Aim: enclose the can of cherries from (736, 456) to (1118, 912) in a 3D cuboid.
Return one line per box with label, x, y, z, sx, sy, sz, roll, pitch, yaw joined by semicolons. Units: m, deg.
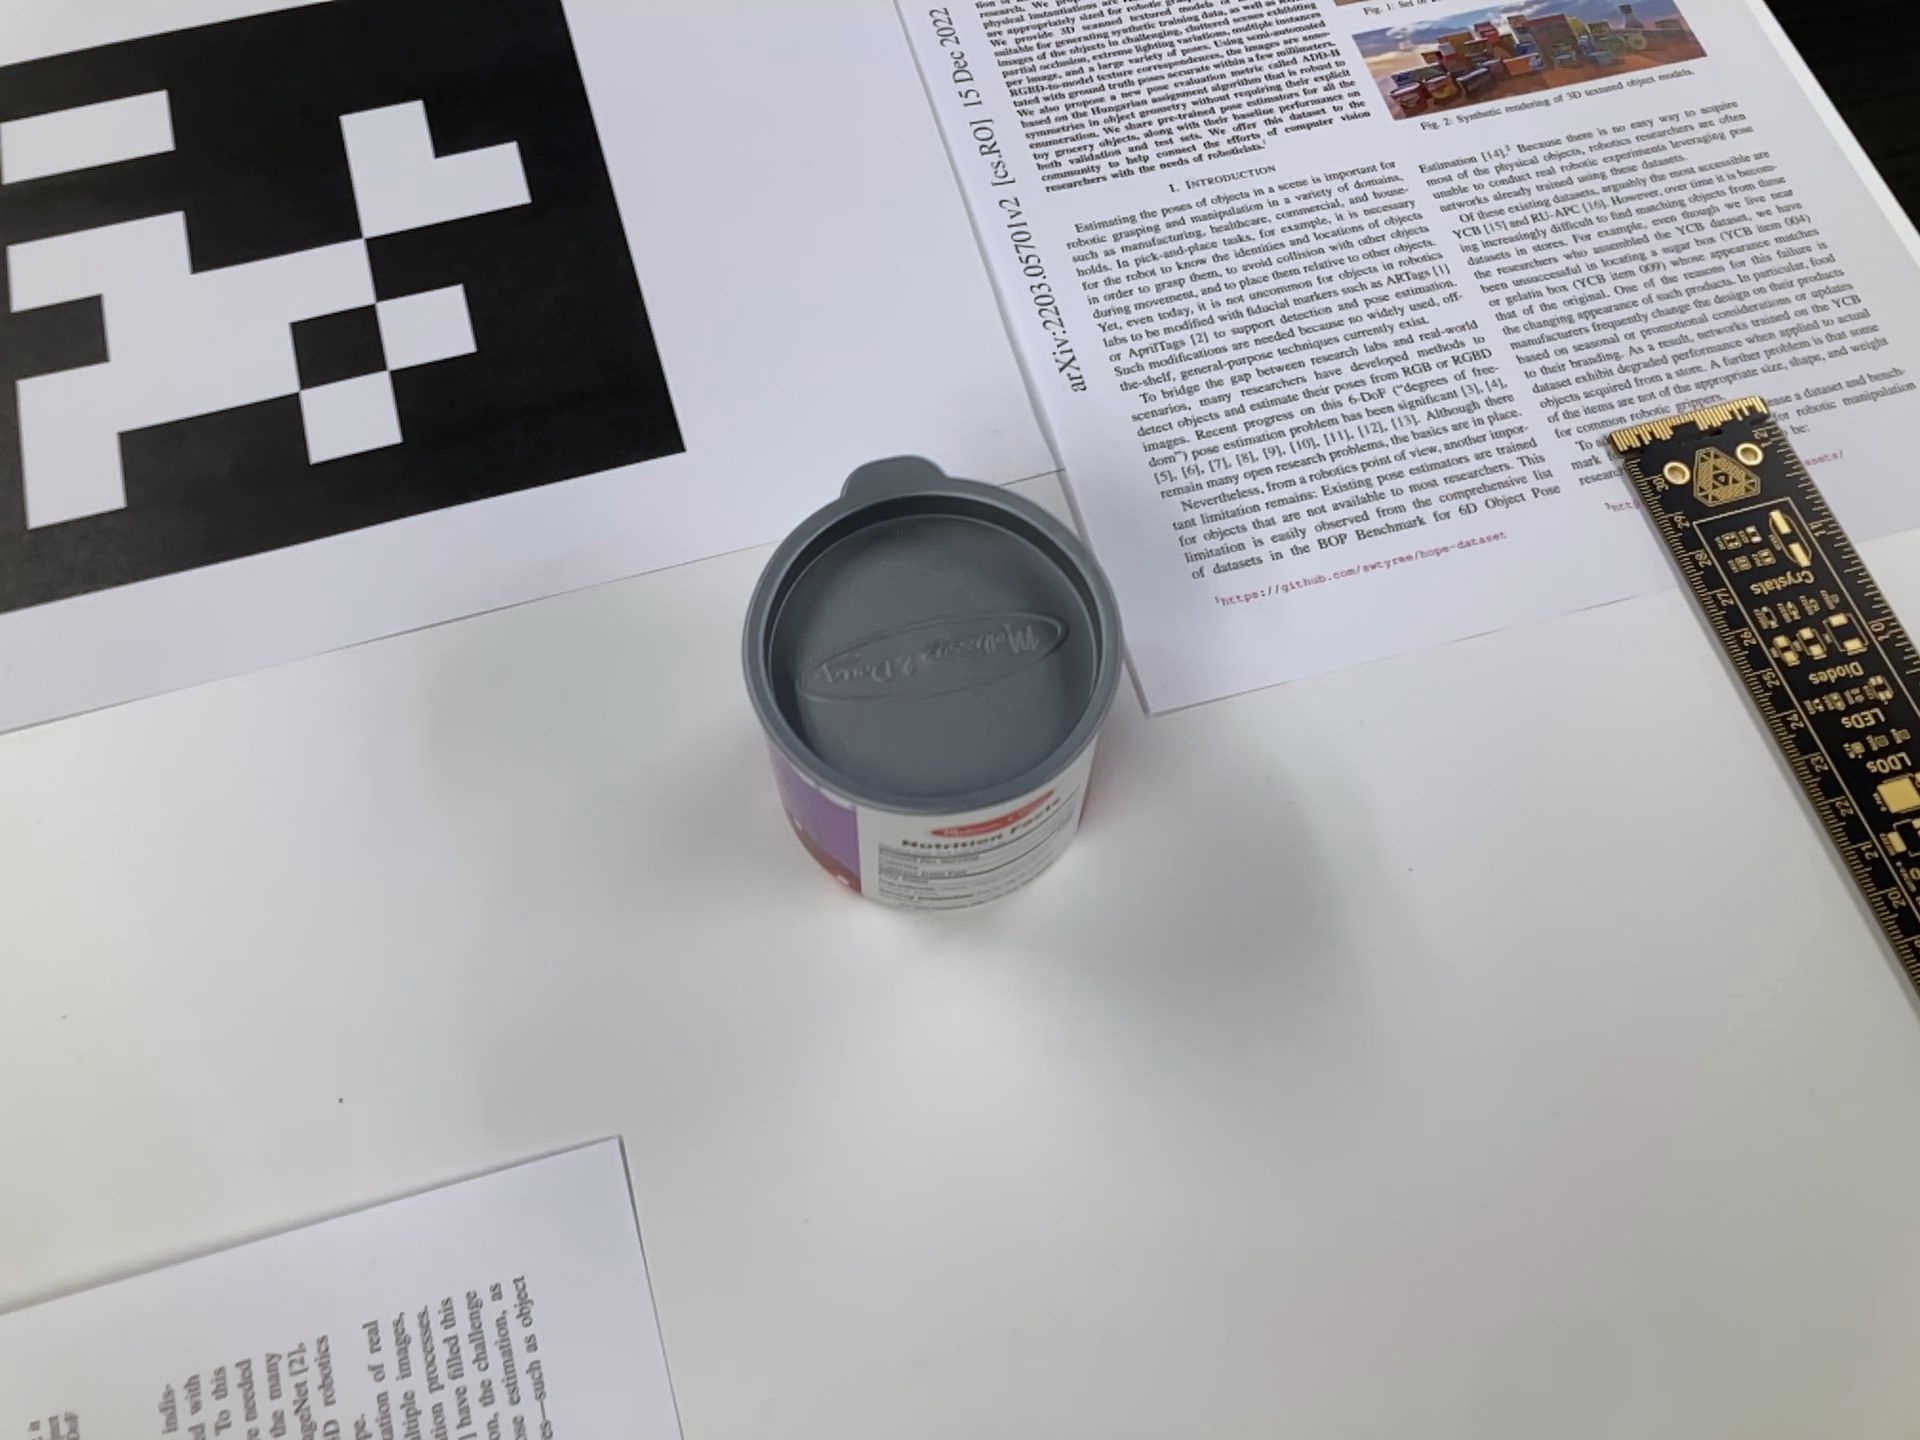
can of cherries;-0.007;-0.006;0.301;0.071;0.058;0.071;0;66;-1
